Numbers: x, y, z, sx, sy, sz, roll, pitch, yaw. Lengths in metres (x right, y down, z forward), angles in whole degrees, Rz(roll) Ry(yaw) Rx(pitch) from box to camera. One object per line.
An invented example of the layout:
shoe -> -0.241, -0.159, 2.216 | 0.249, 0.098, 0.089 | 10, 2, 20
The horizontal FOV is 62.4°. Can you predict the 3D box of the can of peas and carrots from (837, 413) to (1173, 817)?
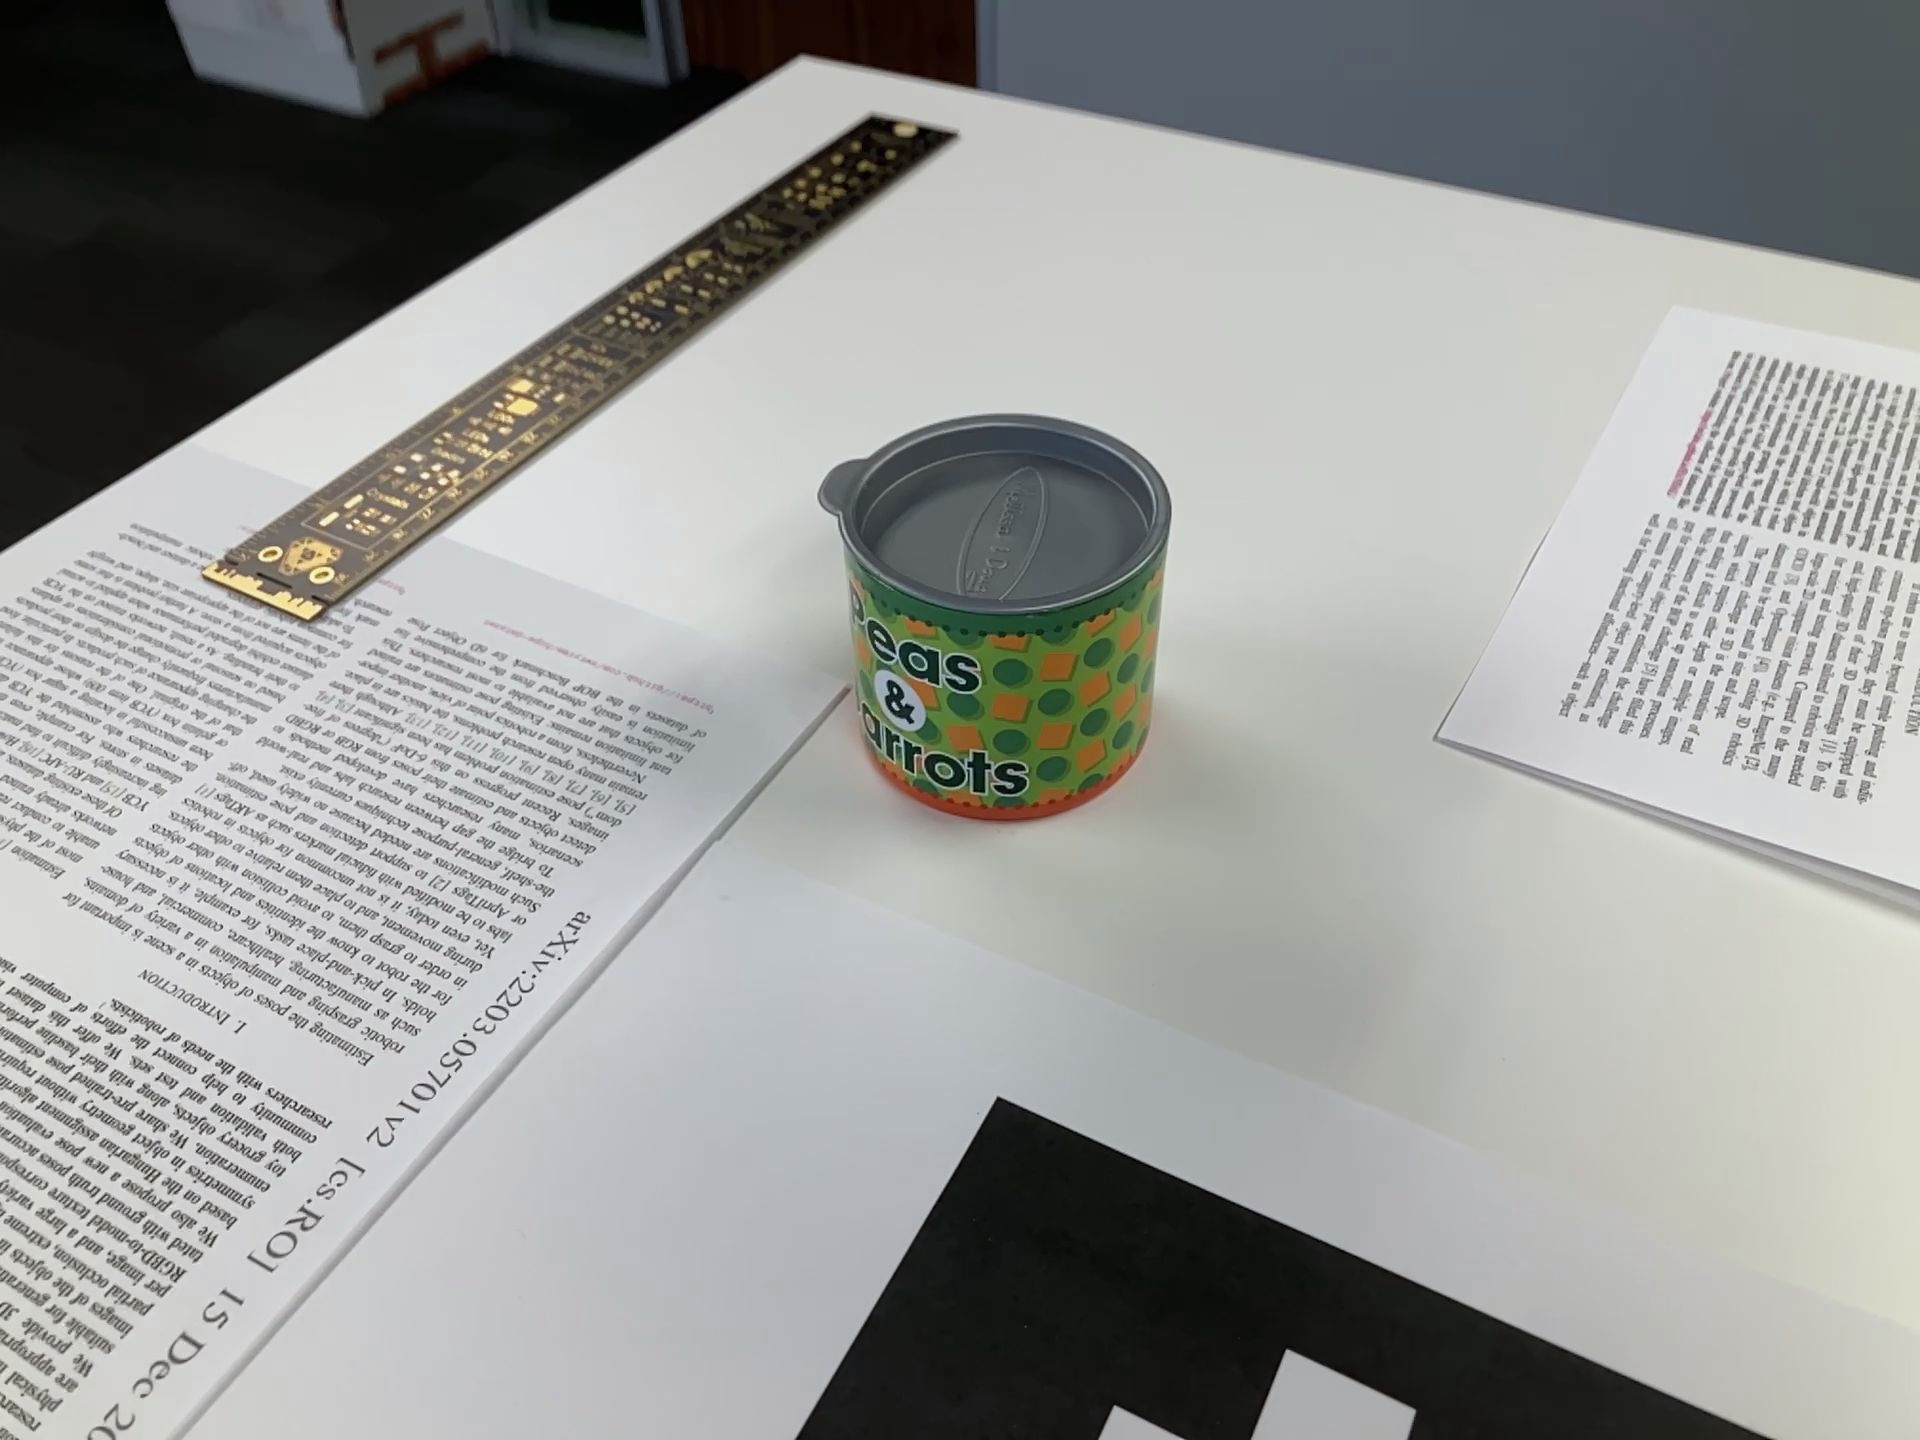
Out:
can of peas and carrots -> 0.007, -0.021, 0.332 | 0.071, 0.059, 0.071 | -1, 43, 1
